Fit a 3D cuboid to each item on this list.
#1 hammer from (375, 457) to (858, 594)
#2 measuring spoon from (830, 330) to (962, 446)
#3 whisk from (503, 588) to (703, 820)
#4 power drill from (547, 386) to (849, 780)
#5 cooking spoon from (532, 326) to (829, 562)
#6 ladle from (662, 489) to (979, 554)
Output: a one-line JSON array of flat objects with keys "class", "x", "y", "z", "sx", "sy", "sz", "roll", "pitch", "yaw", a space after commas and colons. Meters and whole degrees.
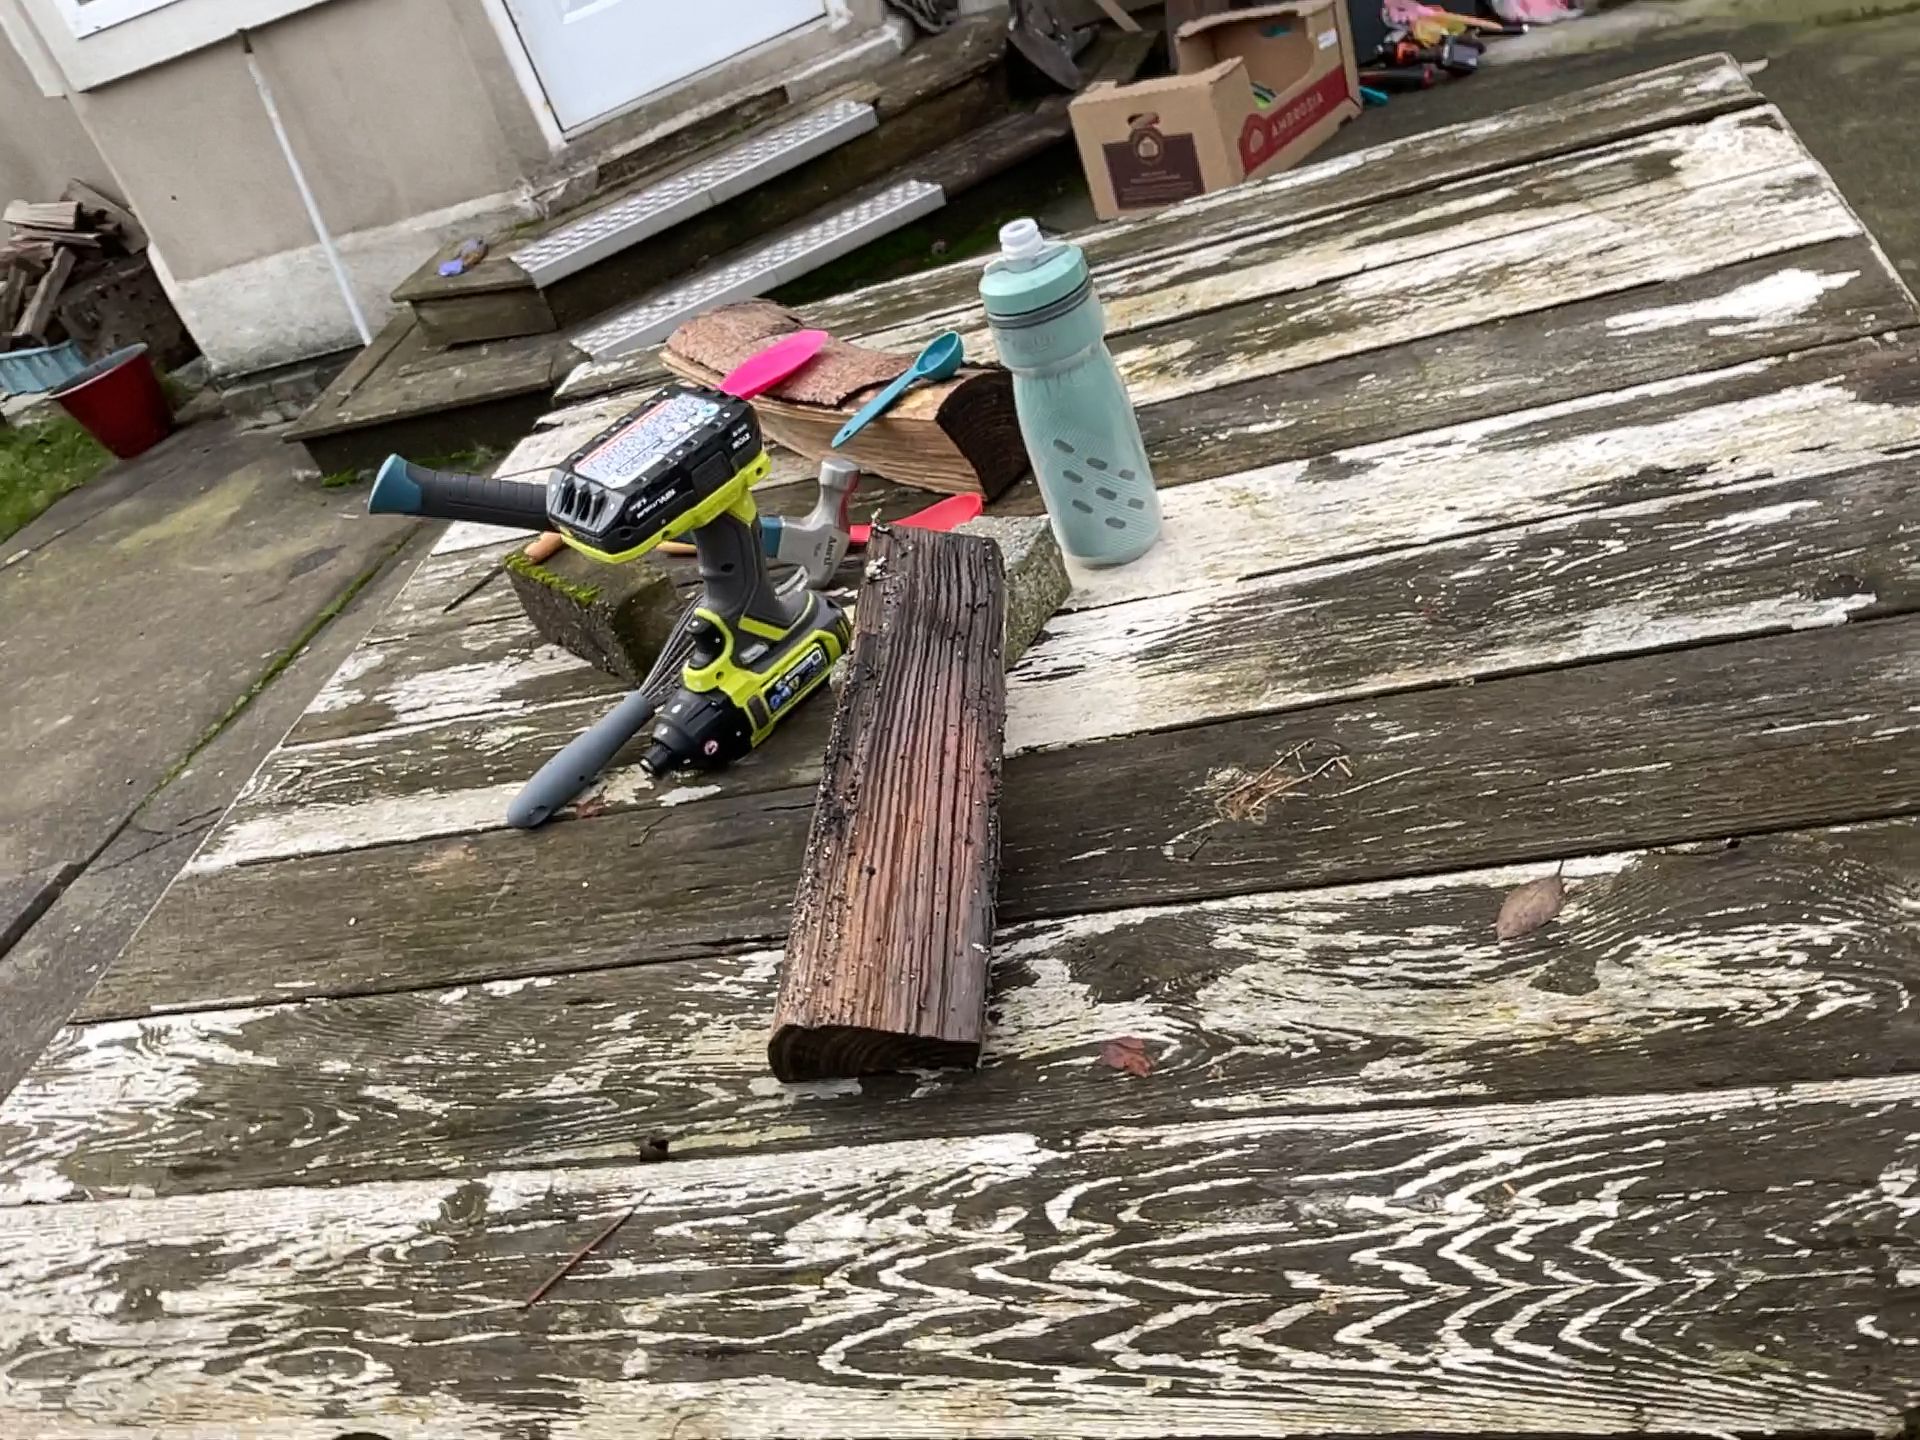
[{"class": "hammer", "x": -0.245, "y": -0.146, "z": 1.148, "sx": 0.330, "sy": 0.128, "sz": 0.033, "roll": 6, "pitch": 27, "yaw": -16}, {"class": "measuring spoon", "x": -0.046, "y": -0.247, "z": 1.216, "sx": 0.128, "sy": 0.021, "sz": 0.042, "roll": -38, "pitch": 31, "yaw": 15}, {"class": "whisk", "x": -0.226, "y": -0.015, "z": 1.103, "sx": 0.055, "sy": 0.055, "sz": 0.239, "roll": 8, "pitch": 46, "yaw": 49}, {"class": "power drill", "x": -0.164, "y": -0.080, "z": 1.011, "sx": 0.080, "sy": 0.223, "sz": 0.171, "roll": 23, "pitch": 55, "yaw": 38}, {"class": "cooking spoon", "x": -0.222, "y": -0.228, "z": 1.284, "sx": 0.069, "sy": 0.017, "sz": 0.319, "roll": 19, "pitch": 55, "yaw": 44}, {"class": "ladle", "x": -0.116, "y": -0.146, "z": 1.253, "sx": 0.316, "sy": 0.031, "sz": 0.069, "roll": 0, "pitch": 42, "yaw": 33}]
